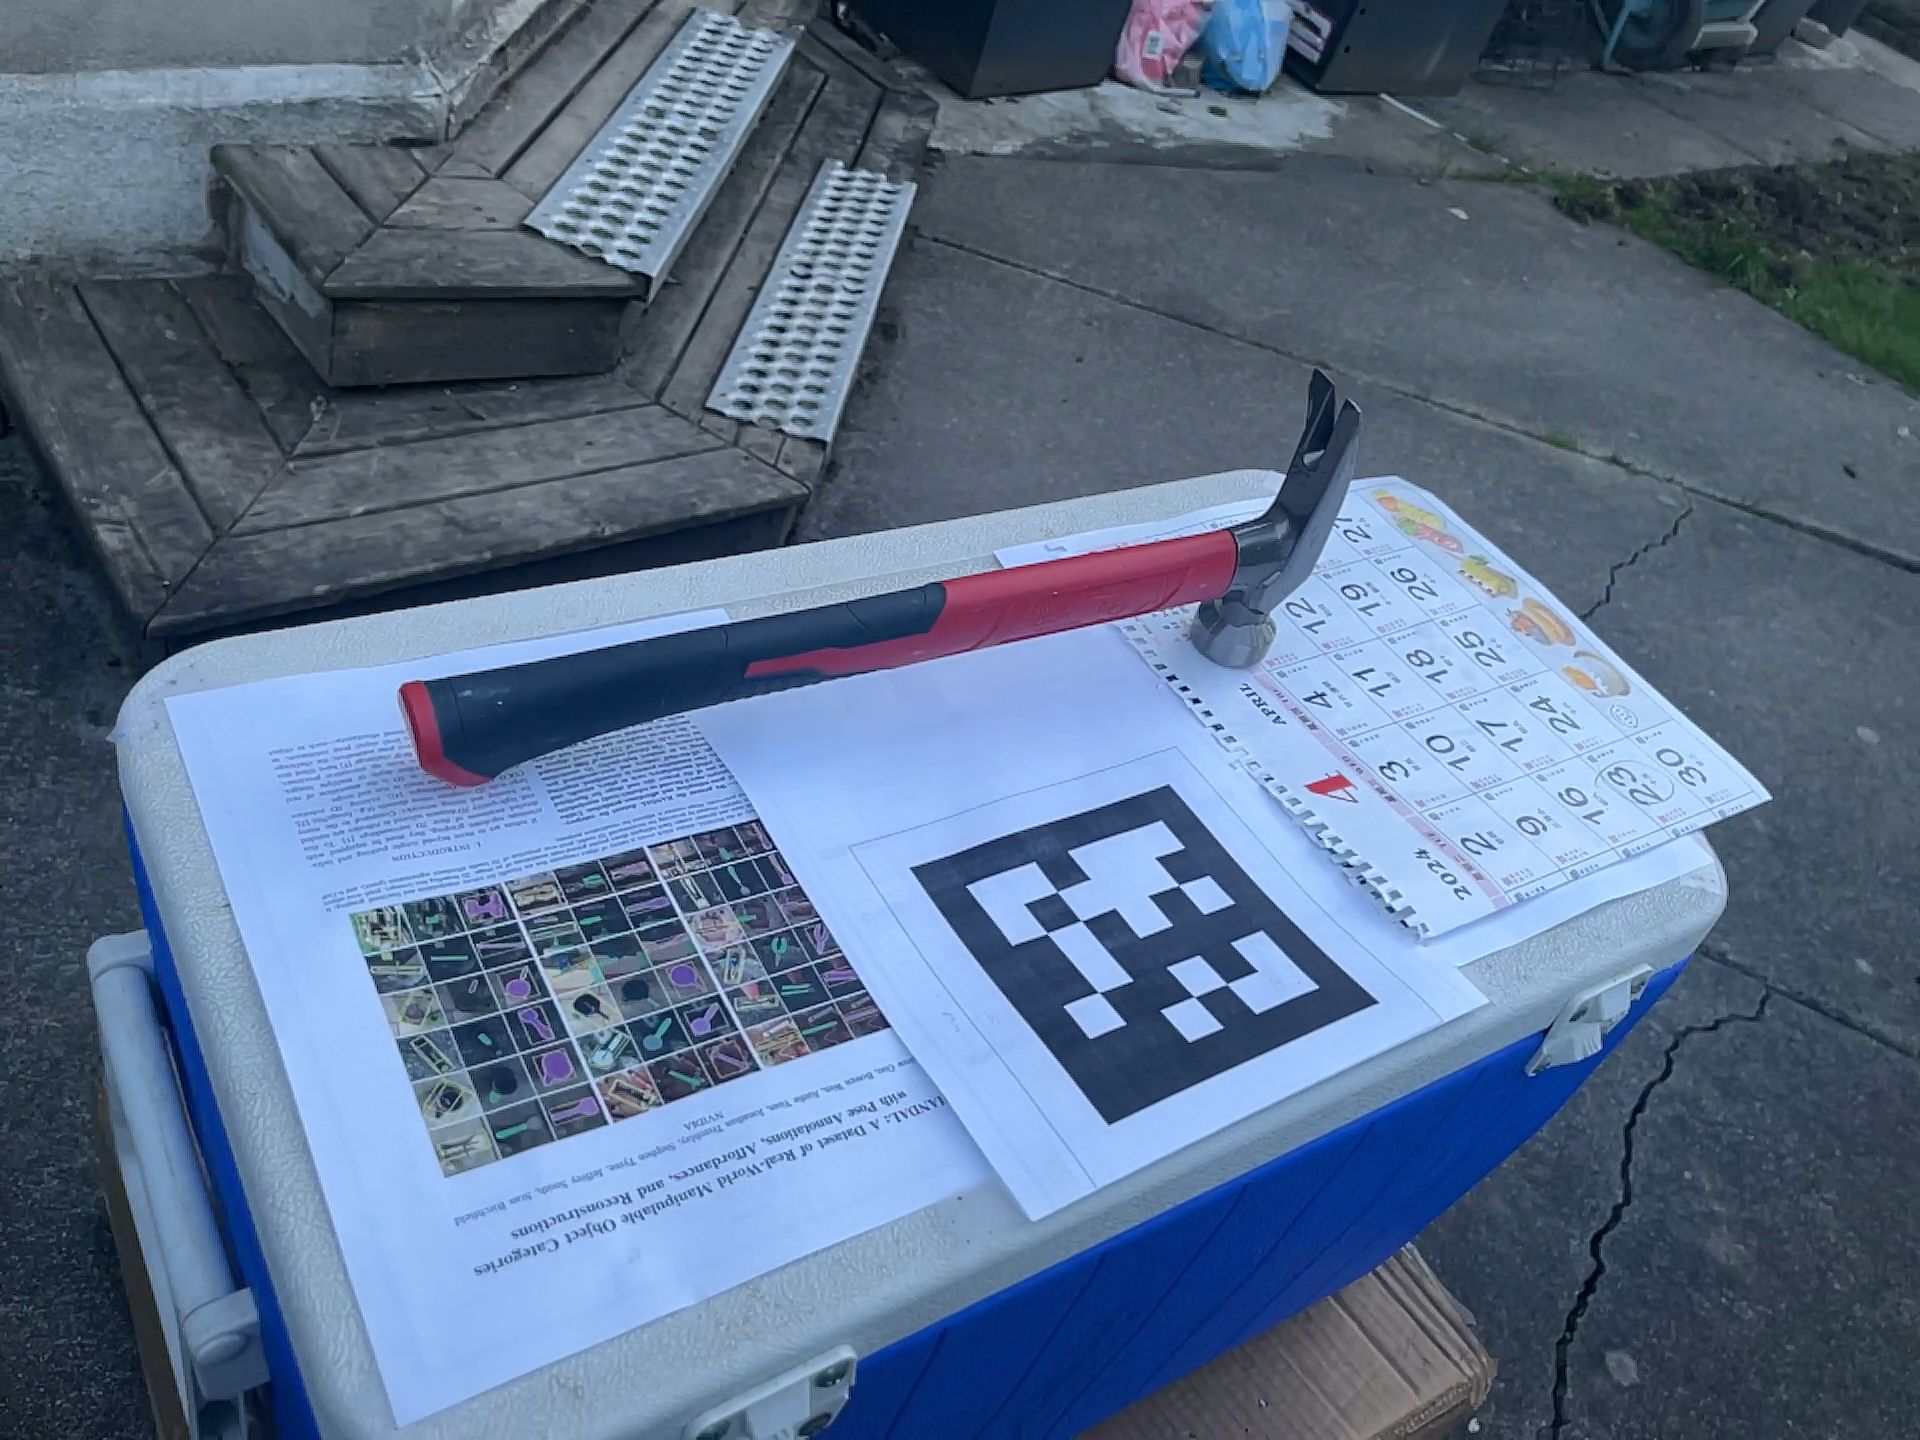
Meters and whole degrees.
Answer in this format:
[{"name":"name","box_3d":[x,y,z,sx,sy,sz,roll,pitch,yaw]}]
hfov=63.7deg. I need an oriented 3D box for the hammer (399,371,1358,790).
[{"name":"hammer","box_3d":[-0.016,-0.047,0.600,0.386,0.143,0.038,-13,50,-25]}]
